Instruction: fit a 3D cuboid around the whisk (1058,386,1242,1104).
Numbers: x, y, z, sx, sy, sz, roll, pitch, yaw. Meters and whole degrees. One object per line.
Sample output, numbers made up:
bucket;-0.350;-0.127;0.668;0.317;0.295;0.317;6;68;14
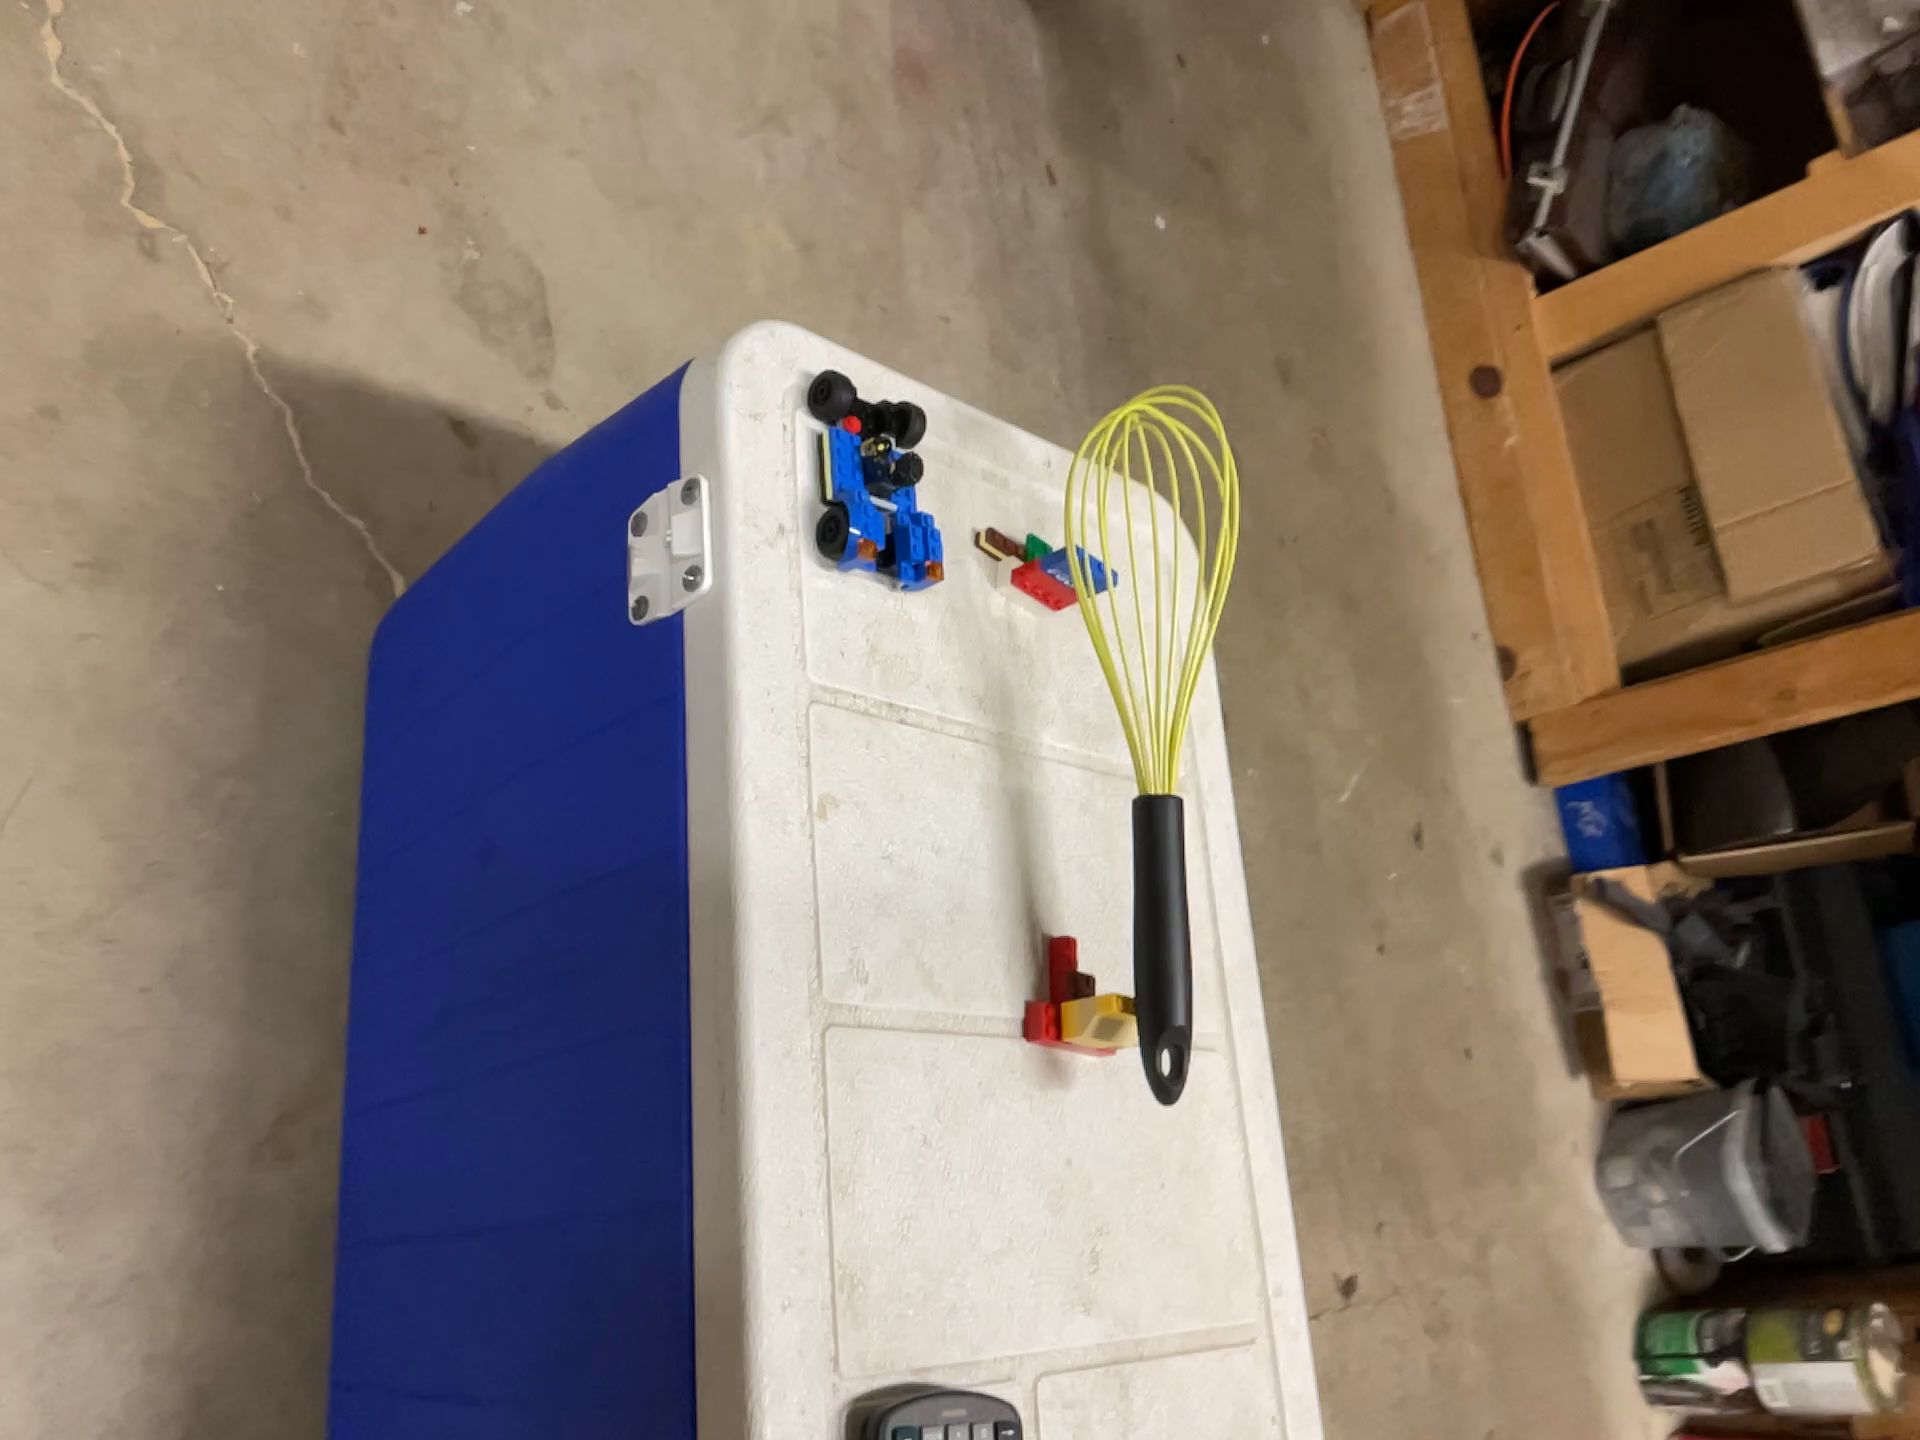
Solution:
whisk;0.083;0.005;0.686;0.080;0.067;0.312;0;78;0
